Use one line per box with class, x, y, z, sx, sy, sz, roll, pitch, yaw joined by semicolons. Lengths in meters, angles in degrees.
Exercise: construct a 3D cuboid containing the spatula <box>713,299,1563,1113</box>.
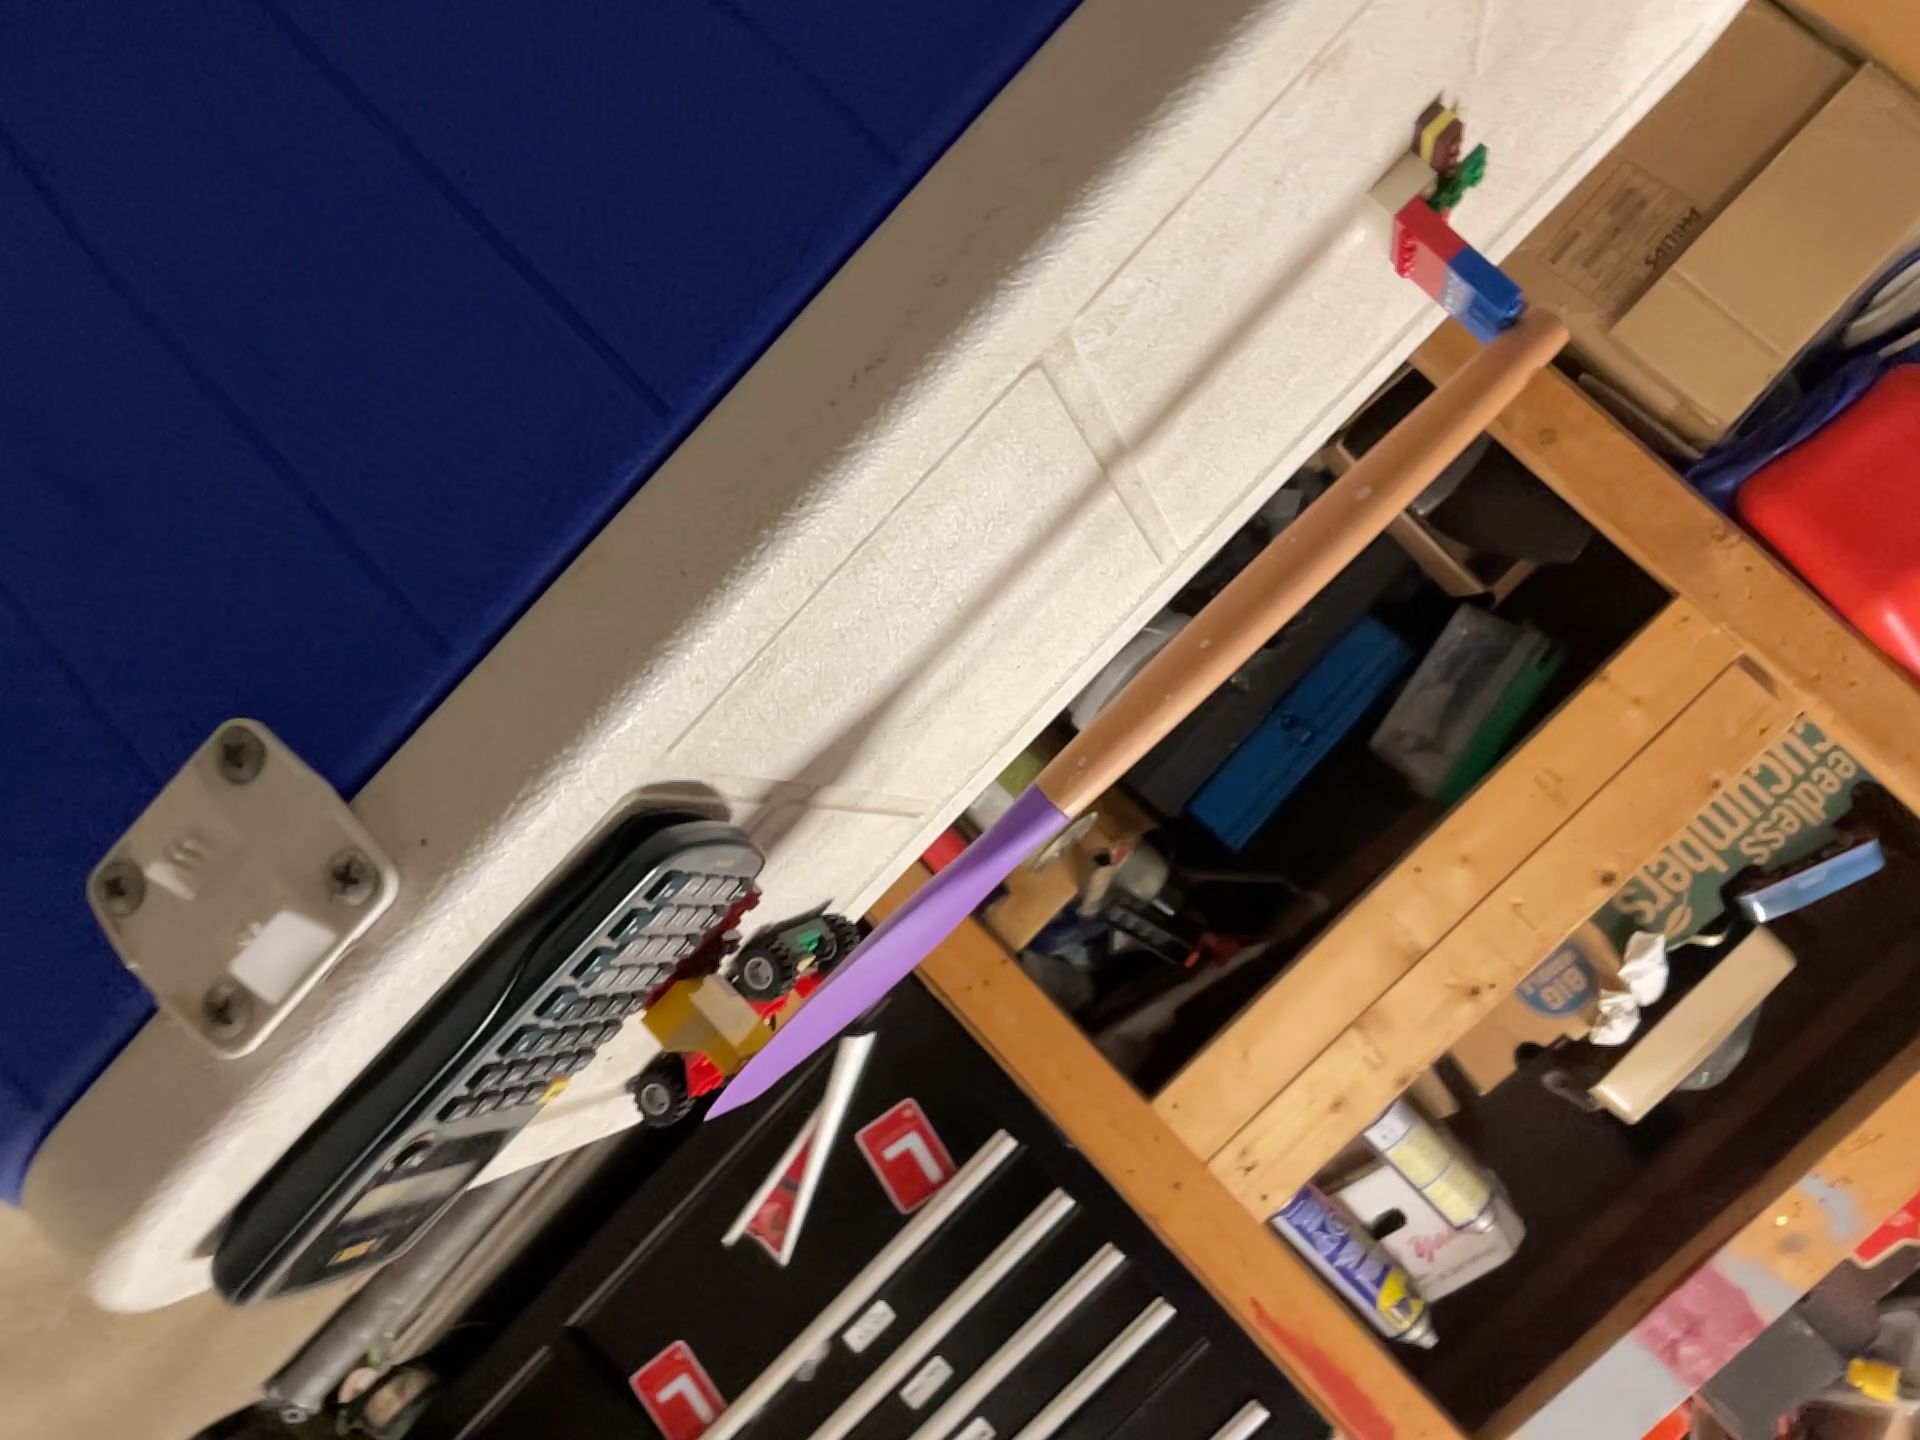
spatula;0.045;0.002;0.442;0.315;0.018;0.060;-44;168;6
